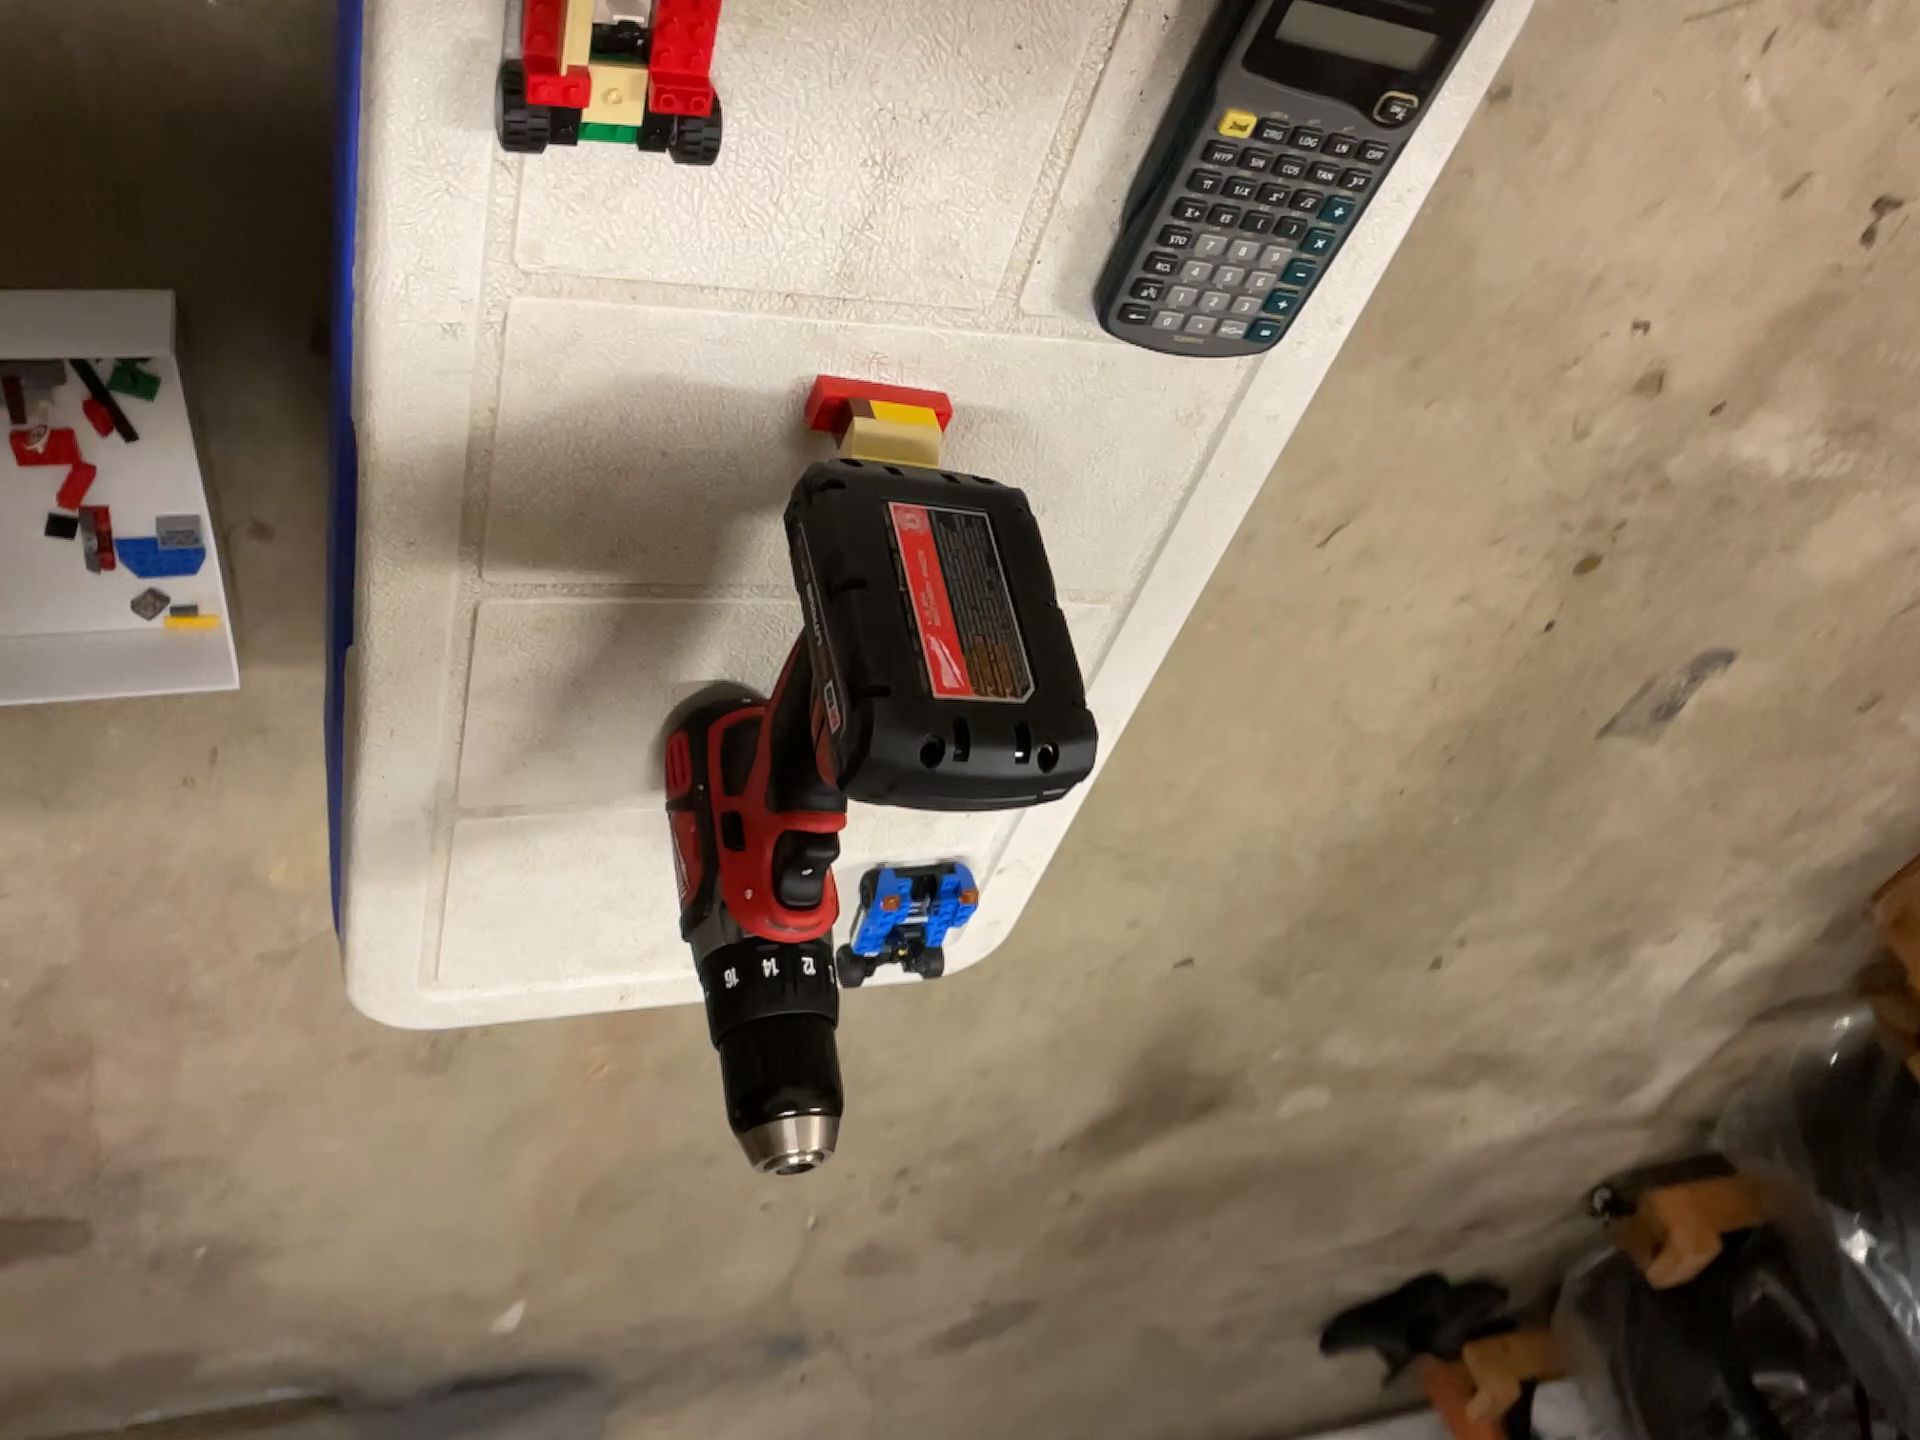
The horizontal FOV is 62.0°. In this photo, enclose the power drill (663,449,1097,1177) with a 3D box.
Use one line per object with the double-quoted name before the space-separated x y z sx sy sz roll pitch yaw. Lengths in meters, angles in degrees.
"power drill" -0.043 0.038 0.554 0.080 0.188 0.226 4 147 -27
